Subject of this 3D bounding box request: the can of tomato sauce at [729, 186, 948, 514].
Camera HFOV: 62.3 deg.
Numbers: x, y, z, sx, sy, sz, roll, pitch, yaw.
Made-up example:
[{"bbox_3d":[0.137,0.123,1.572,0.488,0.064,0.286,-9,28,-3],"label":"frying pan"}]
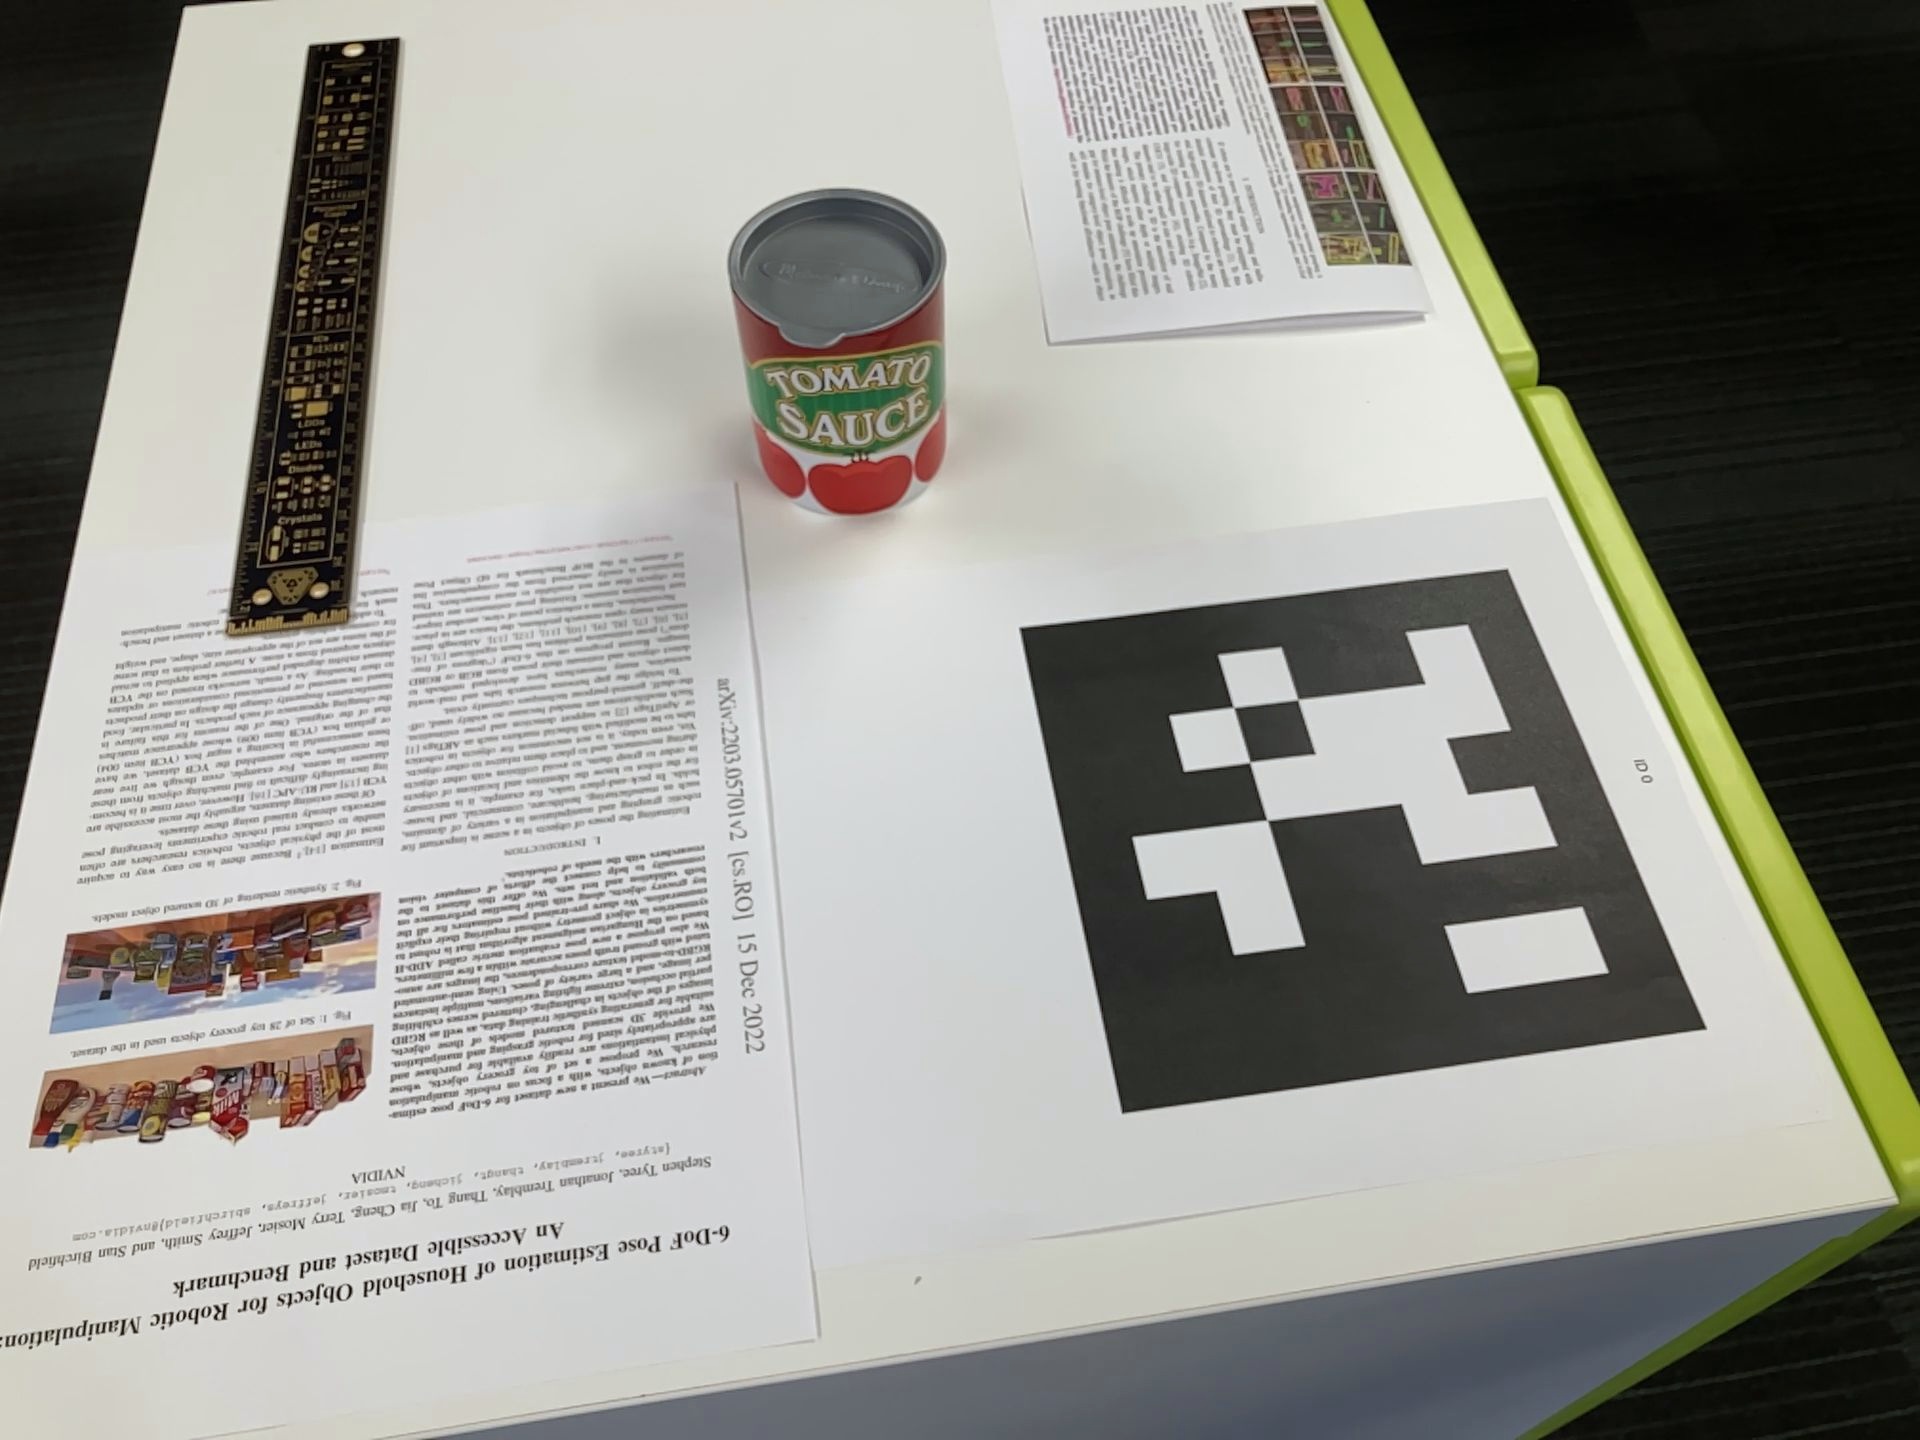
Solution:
[{"bbox_3d":[-0.037,-0.117,0.518,0.071,0.083,0.071,0,56,0],"label":"can of tomato sauce"}]
